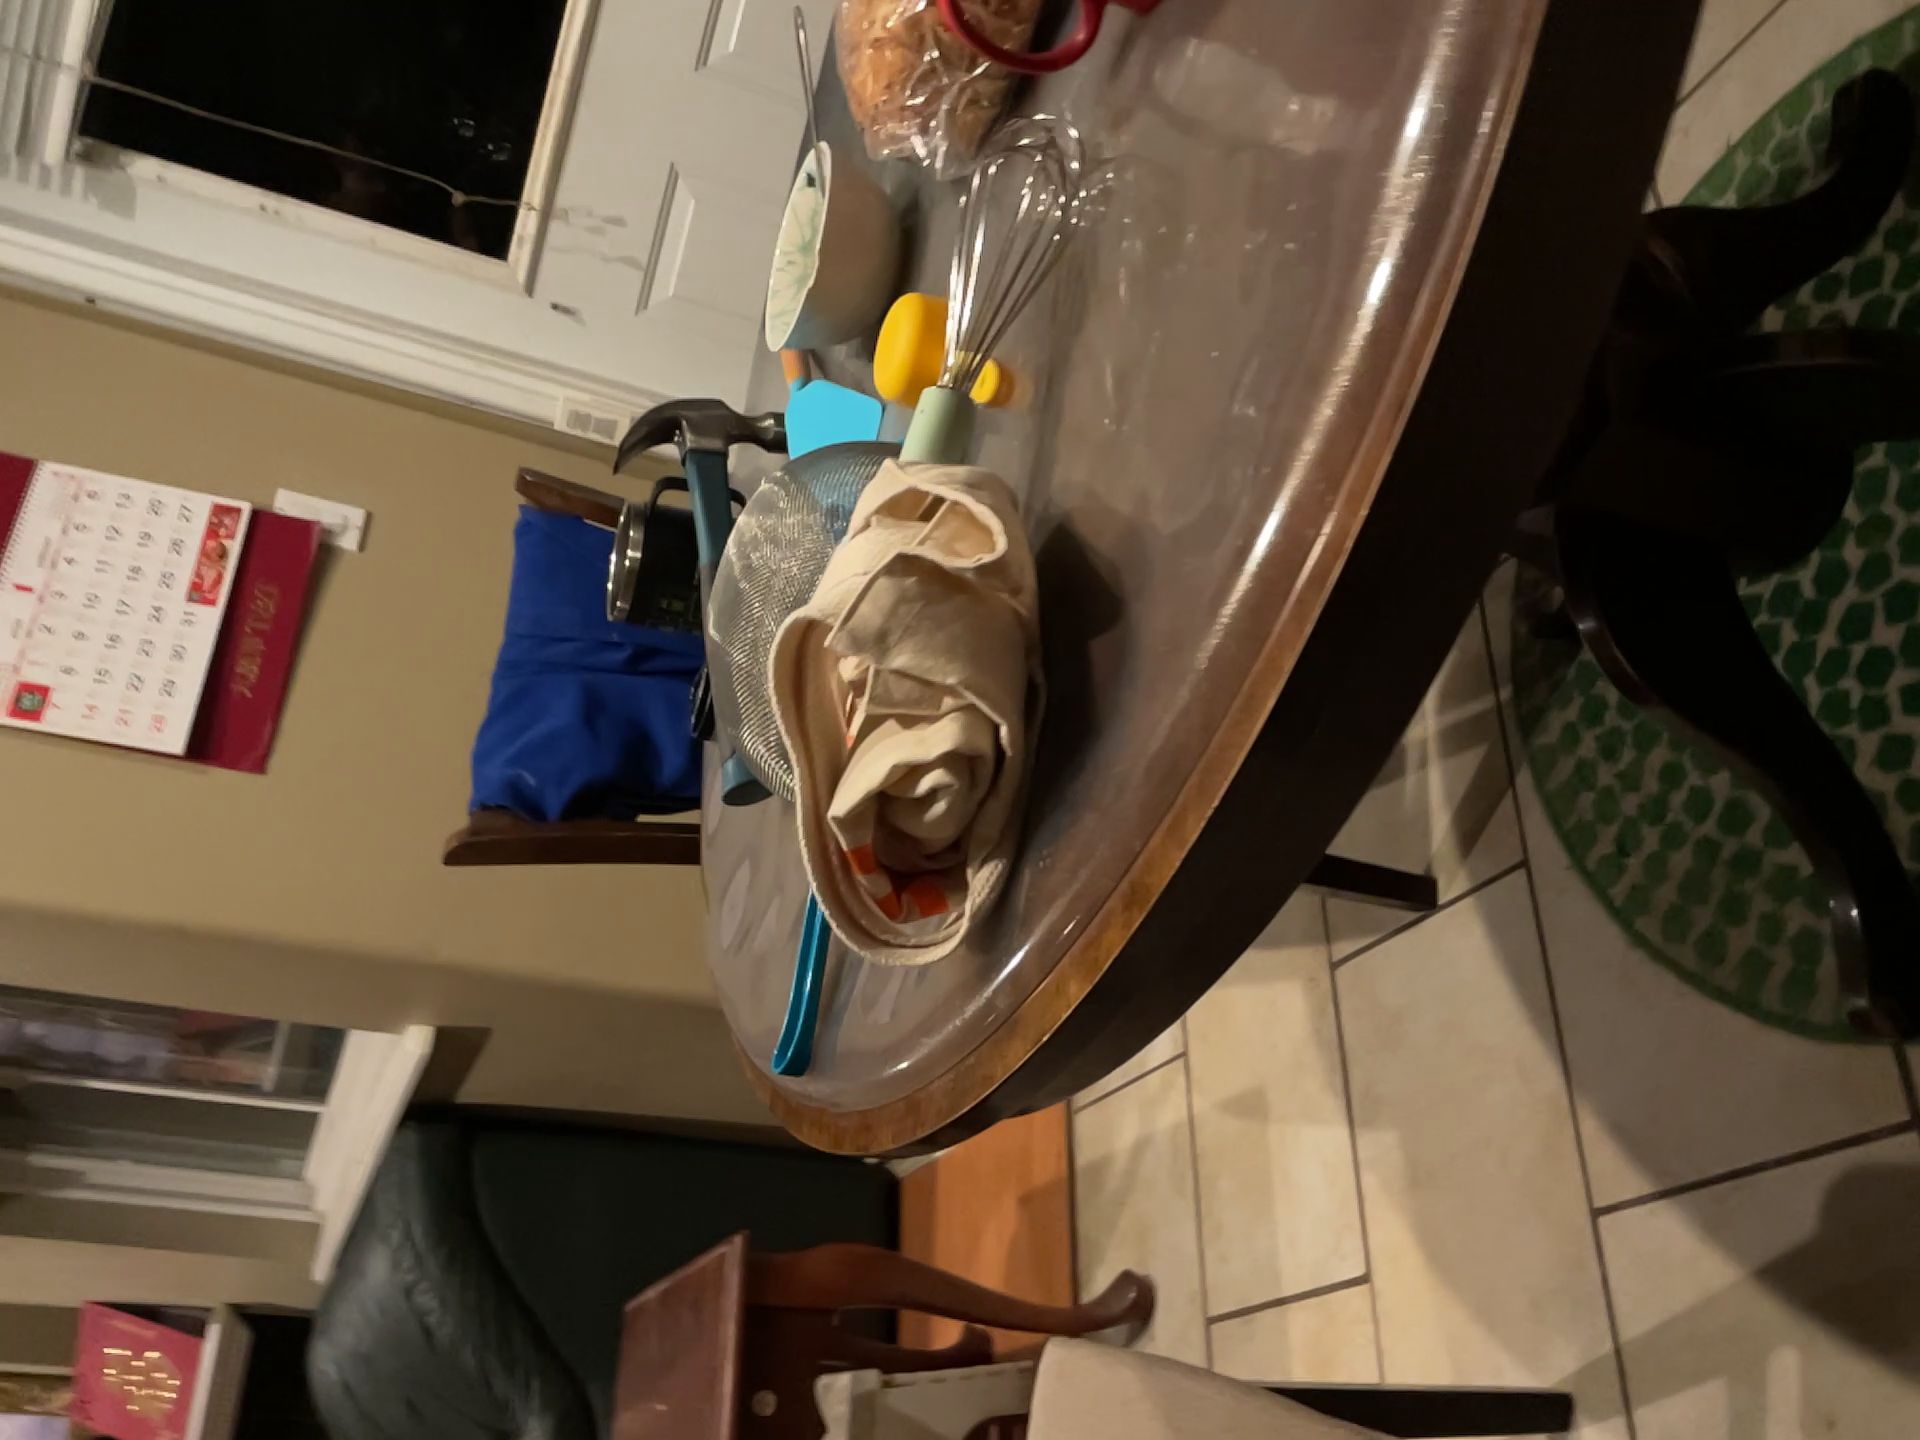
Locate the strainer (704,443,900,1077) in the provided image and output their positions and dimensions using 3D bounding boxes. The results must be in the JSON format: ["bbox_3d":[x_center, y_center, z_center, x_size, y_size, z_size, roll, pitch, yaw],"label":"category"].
[{"bbox_3d":[-0.090,0.003,0.818,0.211,0.095,0.340,153,130,-66],"label":"strainer"}]

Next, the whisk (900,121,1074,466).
[{"bbox_3d":[-0.003,-0.145,0.685,0.059,0.057,0.246,11,80,40],"label":"whisk"}]

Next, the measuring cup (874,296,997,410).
[{"bbox_3d":[-0.014,-0.180,0.802,0.156,0.029,0.062,-128,52,-67],"label":"measuring cup"}]

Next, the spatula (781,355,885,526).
[{"bbox_3d":[-0.097,-0.221,1.072,0.318,0.044,0.082,-108,34,-61],"label":"spatula"}]

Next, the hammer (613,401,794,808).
[{"bbox_3d":[-0.153,-0.086,1.054,0.033,0.128,0.331,120,145,-48],"label":"hammer"}]
